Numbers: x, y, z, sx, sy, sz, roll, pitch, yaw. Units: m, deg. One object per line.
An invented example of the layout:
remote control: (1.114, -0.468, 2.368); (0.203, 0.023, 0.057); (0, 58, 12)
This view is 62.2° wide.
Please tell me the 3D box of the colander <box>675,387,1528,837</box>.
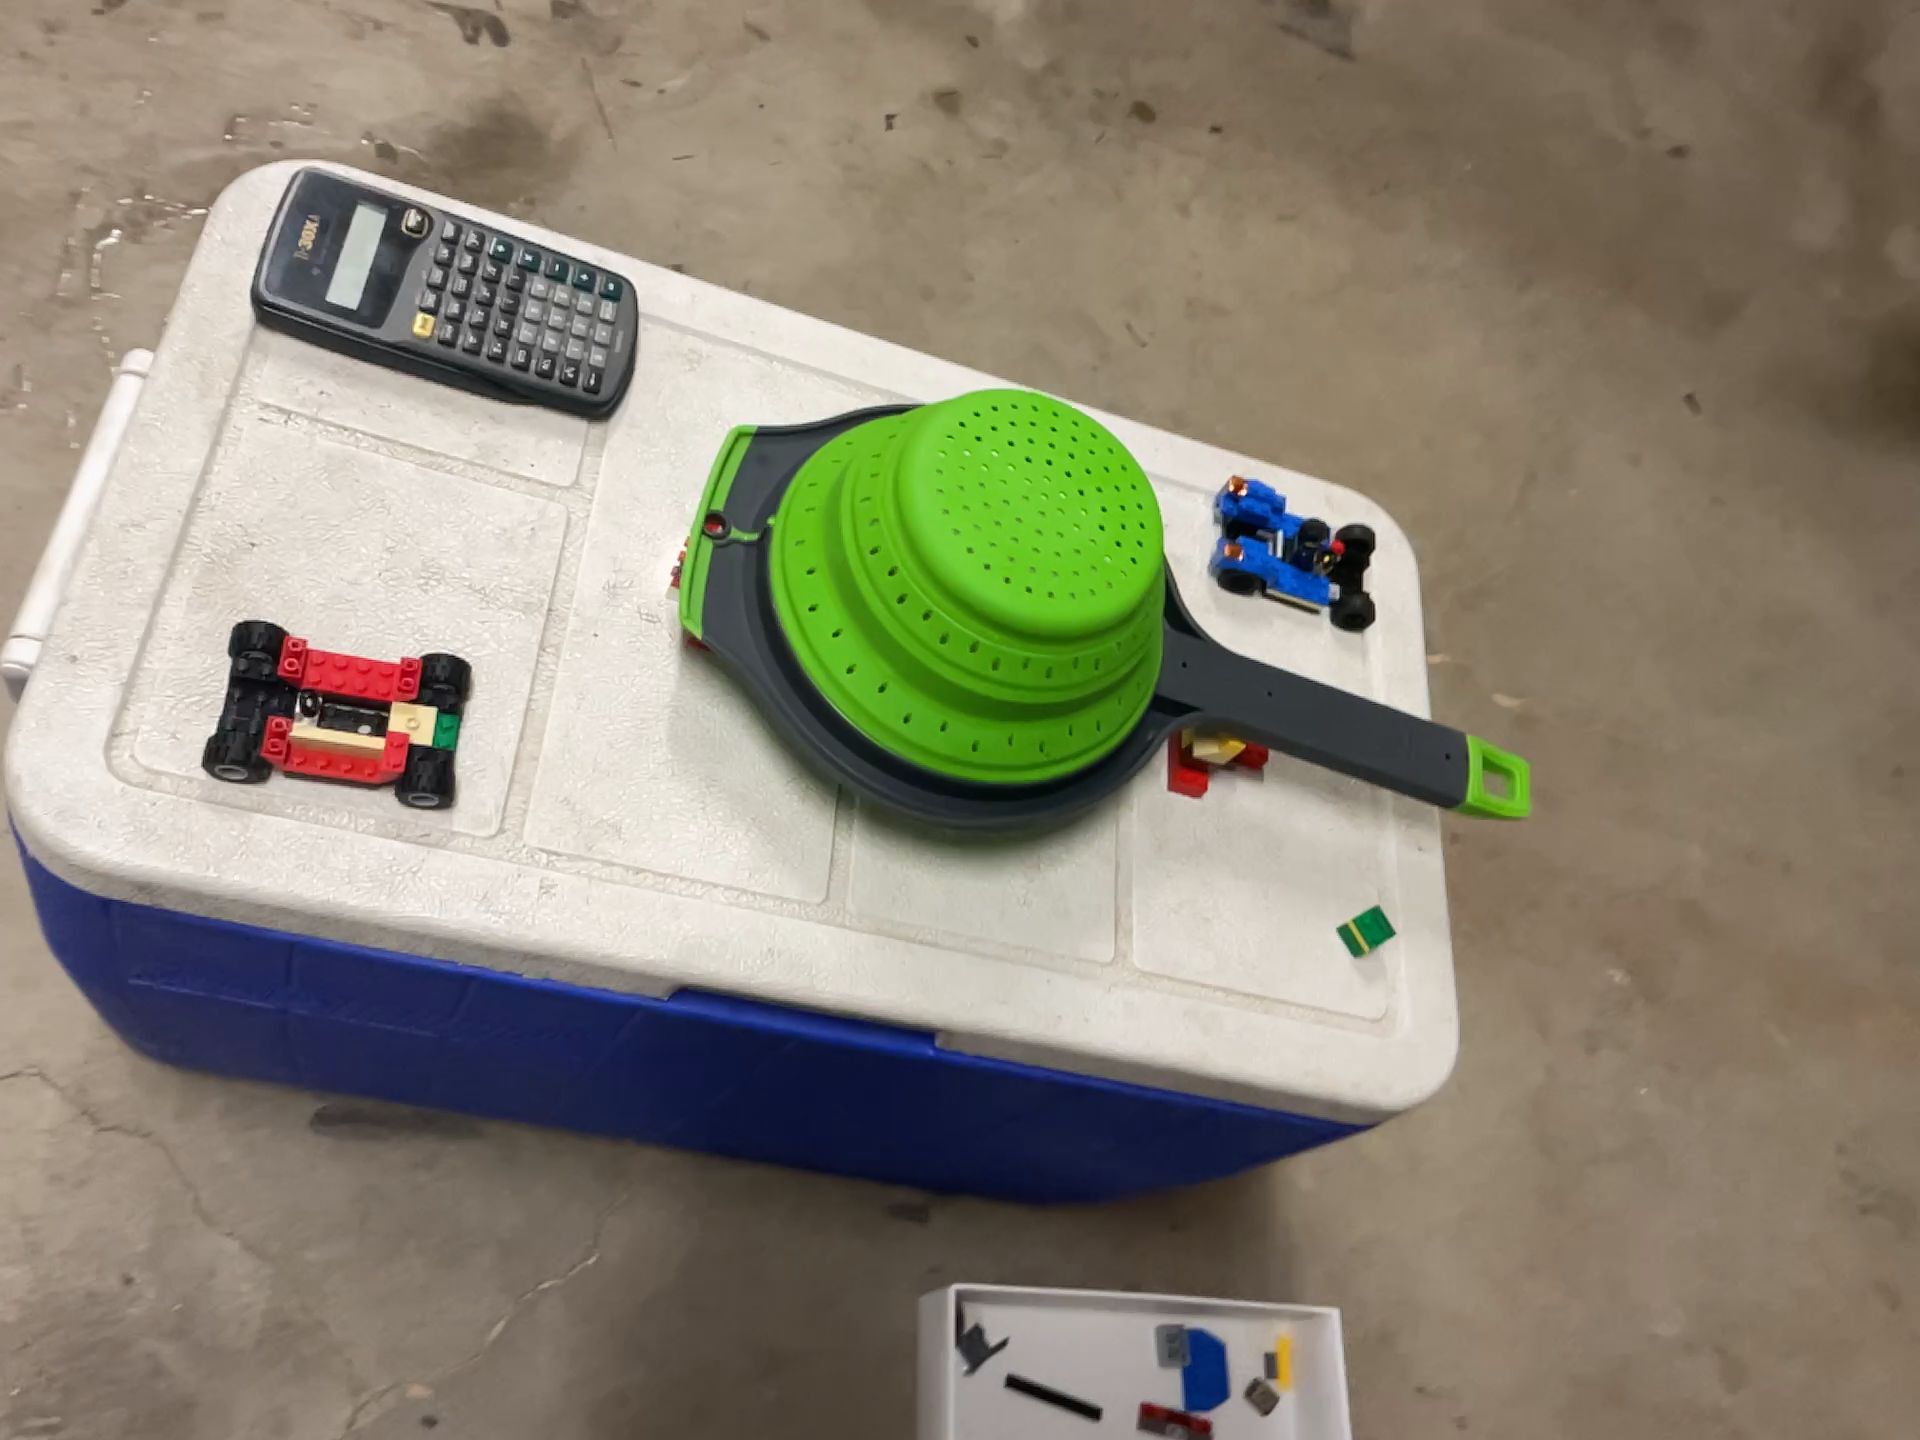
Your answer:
colander: (0.090, -0.040, 0.658); (0.397, 0.094, 0.205); (18, 60, -14)
